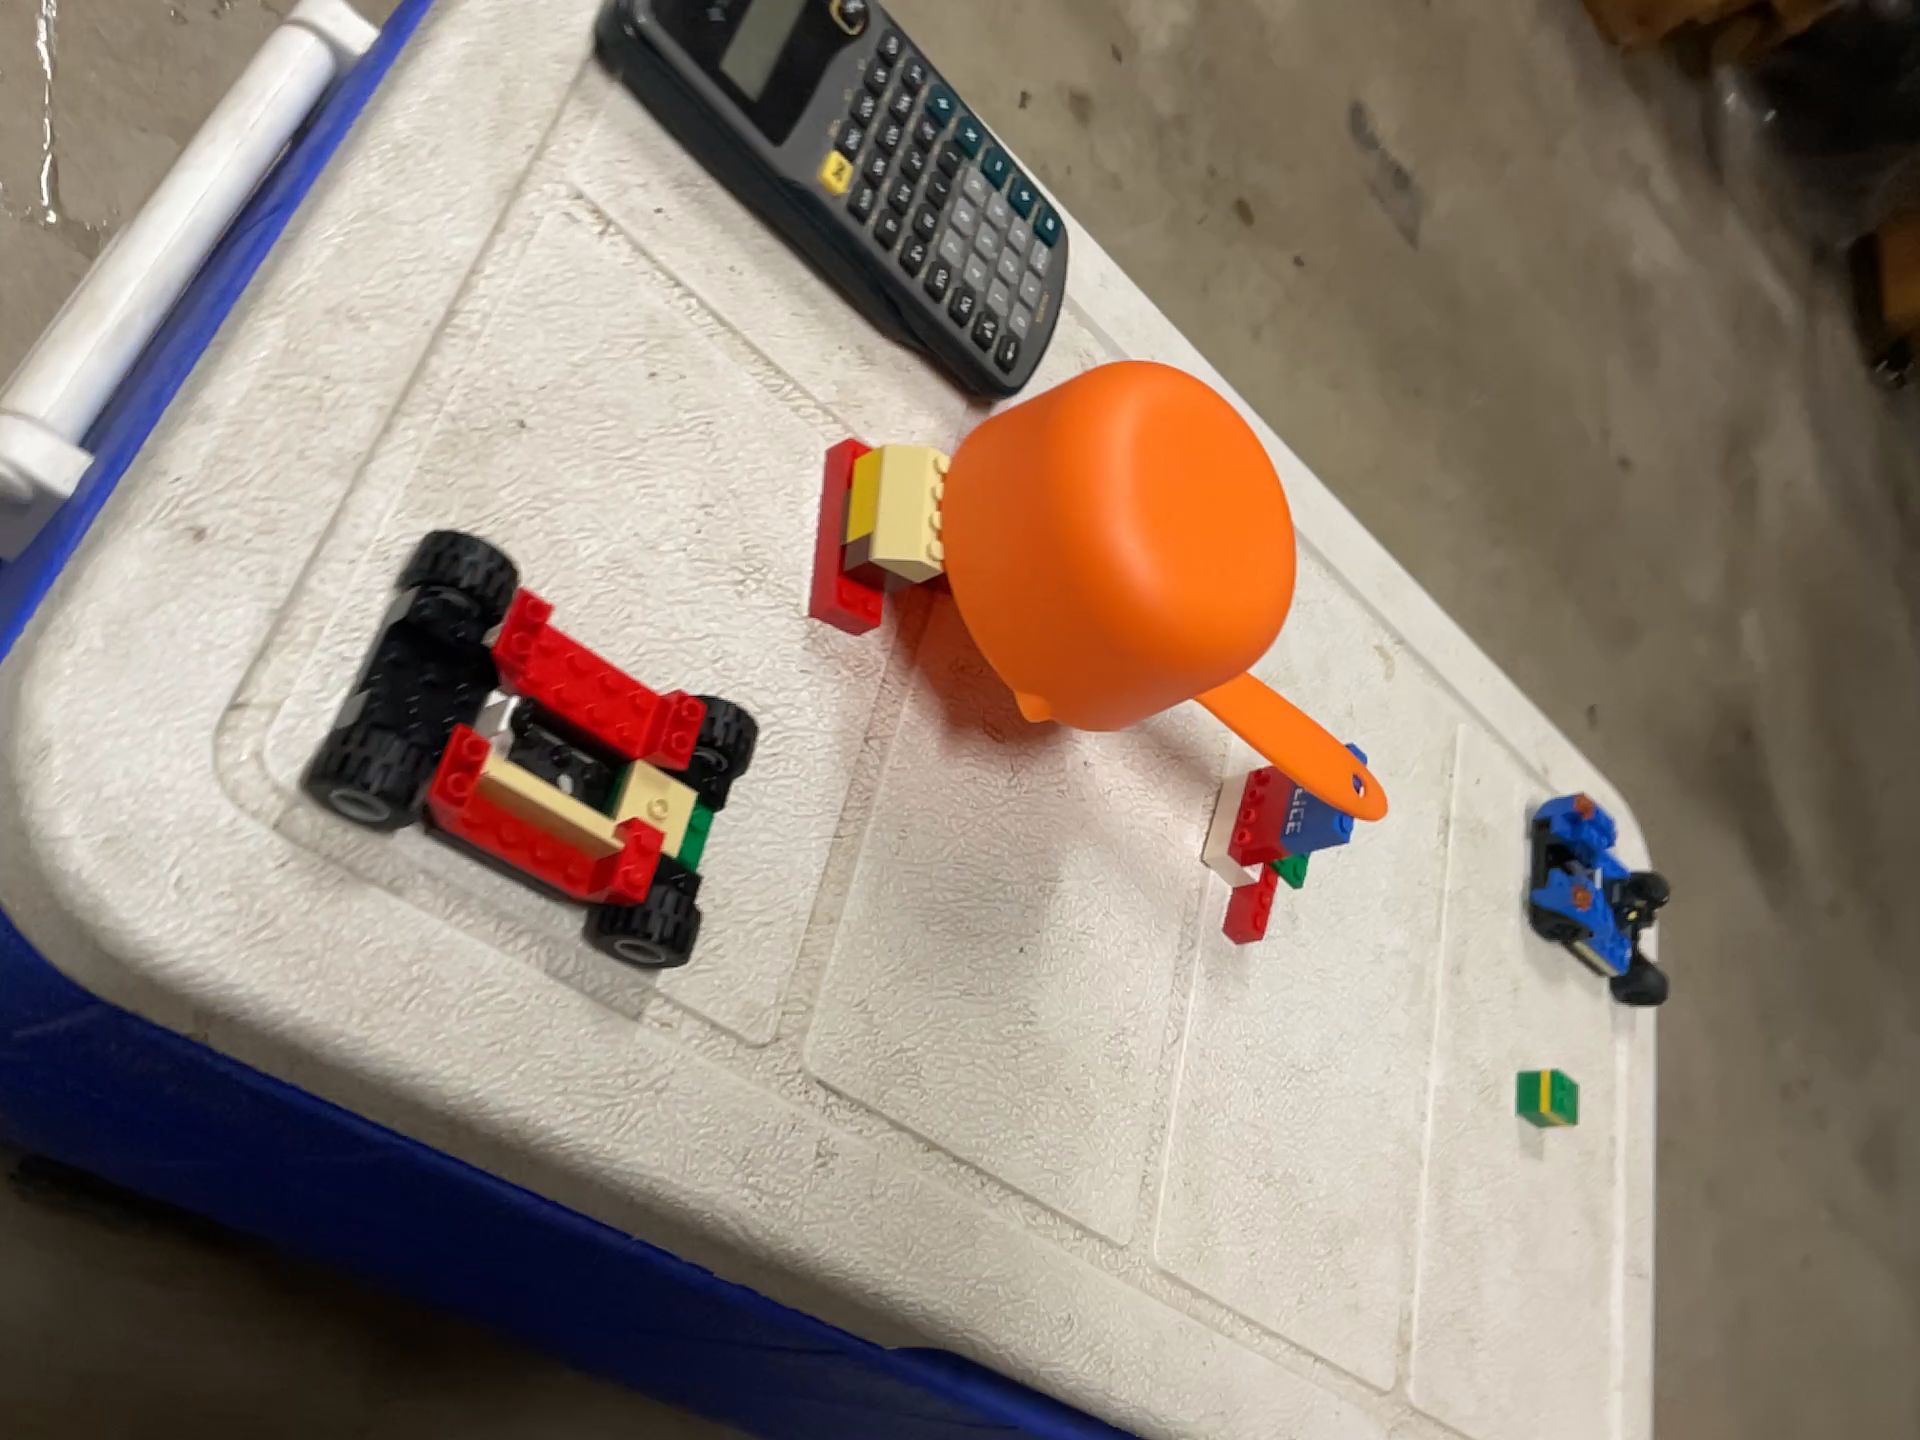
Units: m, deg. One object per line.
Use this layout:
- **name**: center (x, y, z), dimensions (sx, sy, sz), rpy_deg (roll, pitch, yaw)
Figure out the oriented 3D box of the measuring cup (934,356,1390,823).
- **measuring cup**: center (0.074, -0.024, 0.412), dimensions (0.173, 0.052, 0.095), rpy_deg (35, 55, -26)
